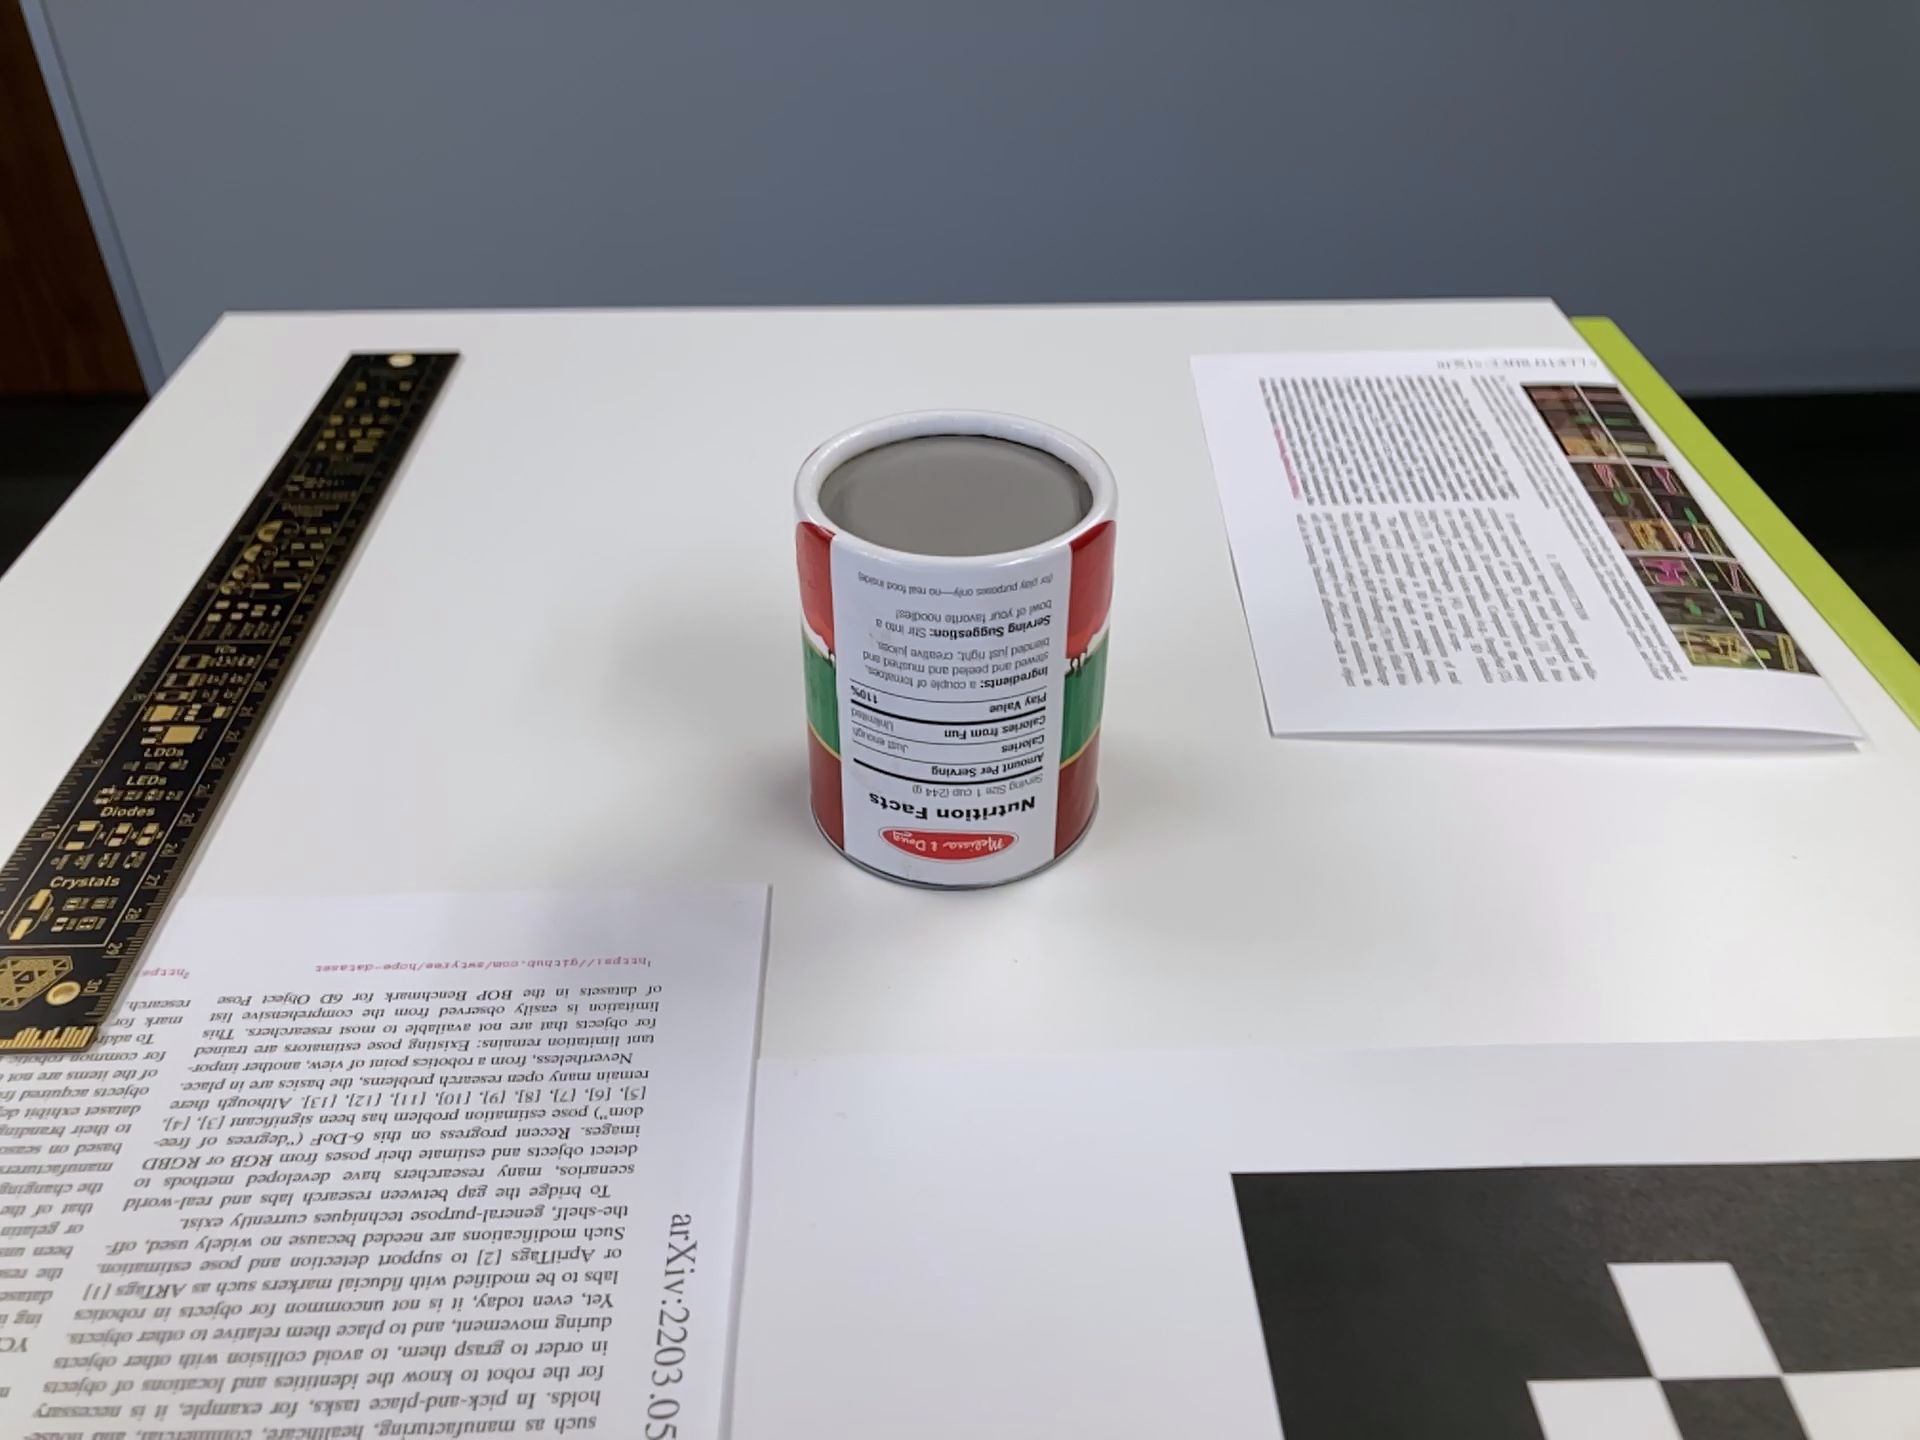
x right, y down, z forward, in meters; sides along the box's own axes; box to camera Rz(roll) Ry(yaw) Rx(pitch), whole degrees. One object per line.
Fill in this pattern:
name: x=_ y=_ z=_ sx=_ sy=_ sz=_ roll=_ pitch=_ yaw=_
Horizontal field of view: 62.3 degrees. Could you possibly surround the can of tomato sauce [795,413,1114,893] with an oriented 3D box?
can of tomato sauce: x=0.000 y=-0.017 z=0.346 sx=0.071 sy=0.083 sz=0.071 roll=-2 pitch=36 yaw=1
